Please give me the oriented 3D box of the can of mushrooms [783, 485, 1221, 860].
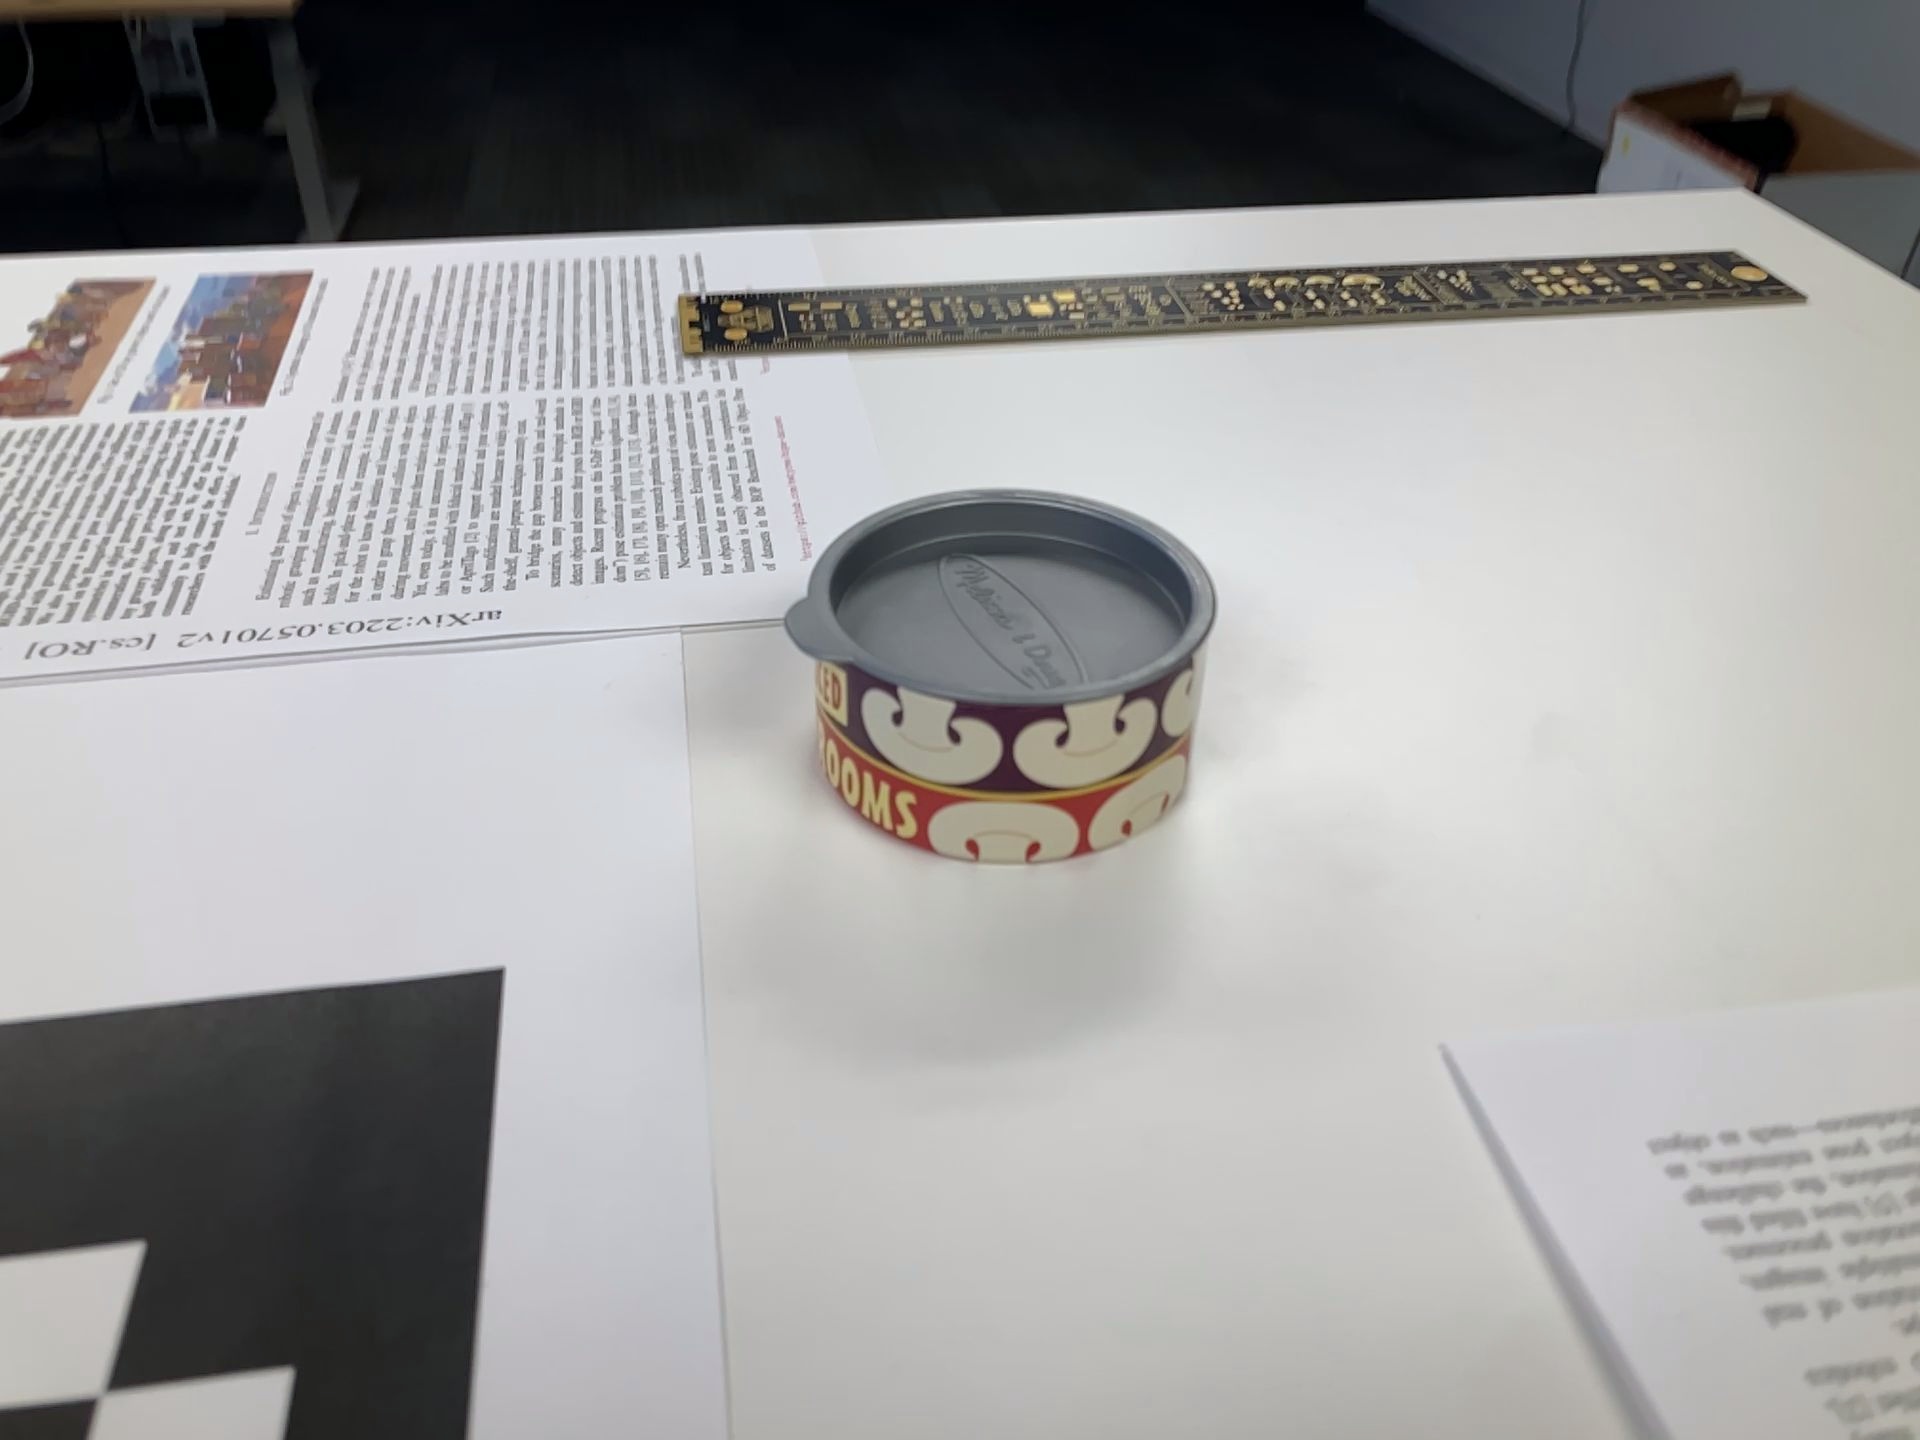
[{"bbox_3d":[0.006,-0.009,0.264,0.071,0.033,0.071,1,37,-1],"label":"can of mushrooms"}]
